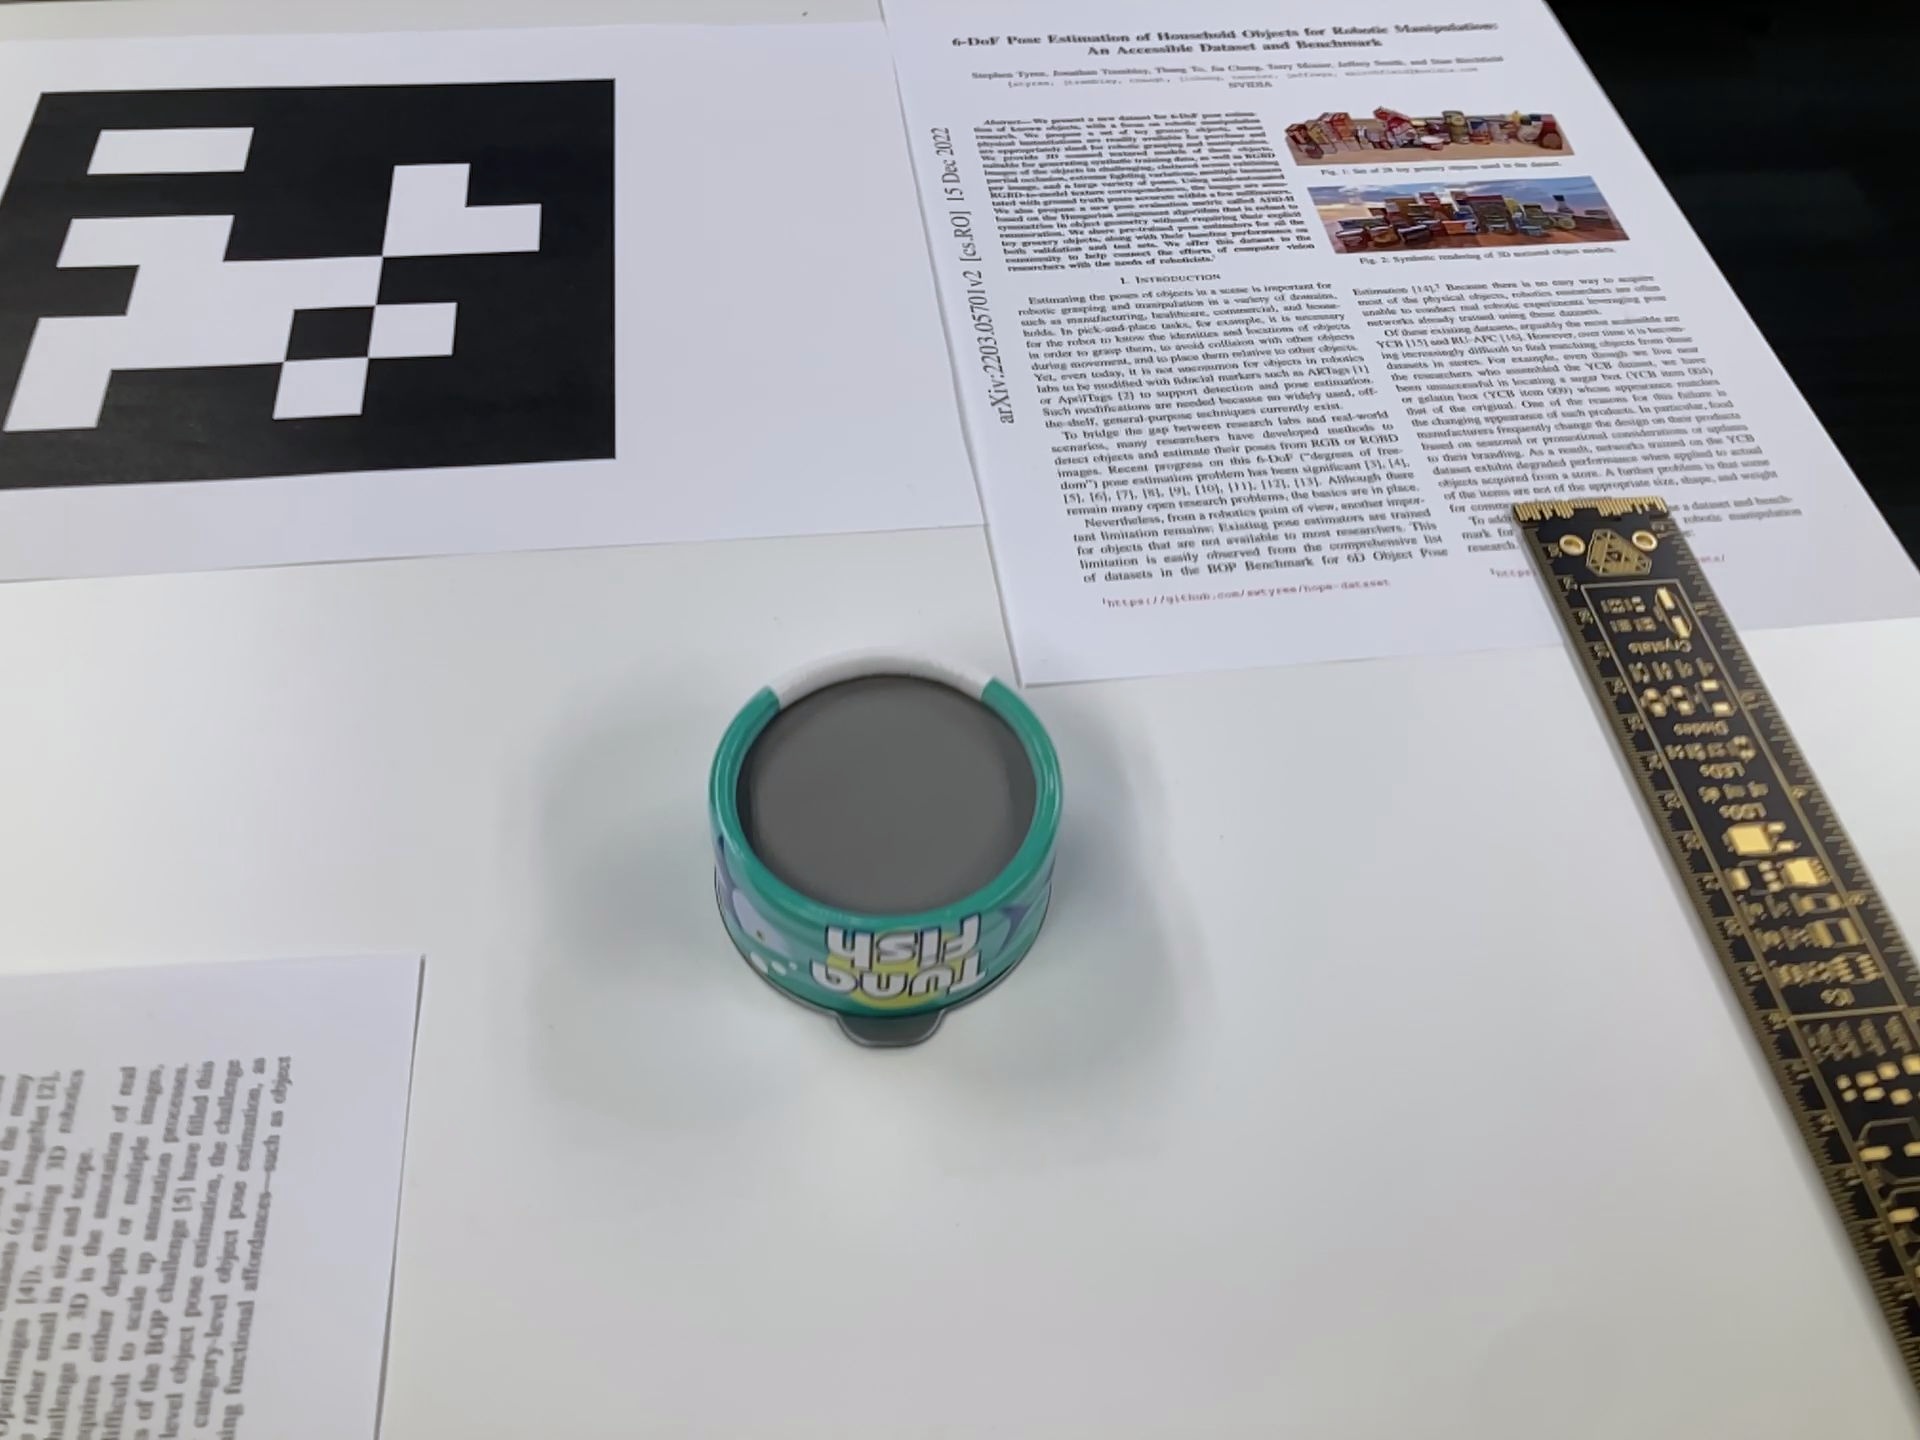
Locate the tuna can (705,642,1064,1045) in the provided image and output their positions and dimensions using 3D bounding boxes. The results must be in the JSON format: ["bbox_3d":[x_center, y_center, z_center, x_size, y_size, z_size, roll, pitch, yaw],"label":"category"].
[{"bbox_3d":[-0.014,0.022,0.298,0.071,0.033,0.071,1,54,-1],"label":"tuna can"}]
